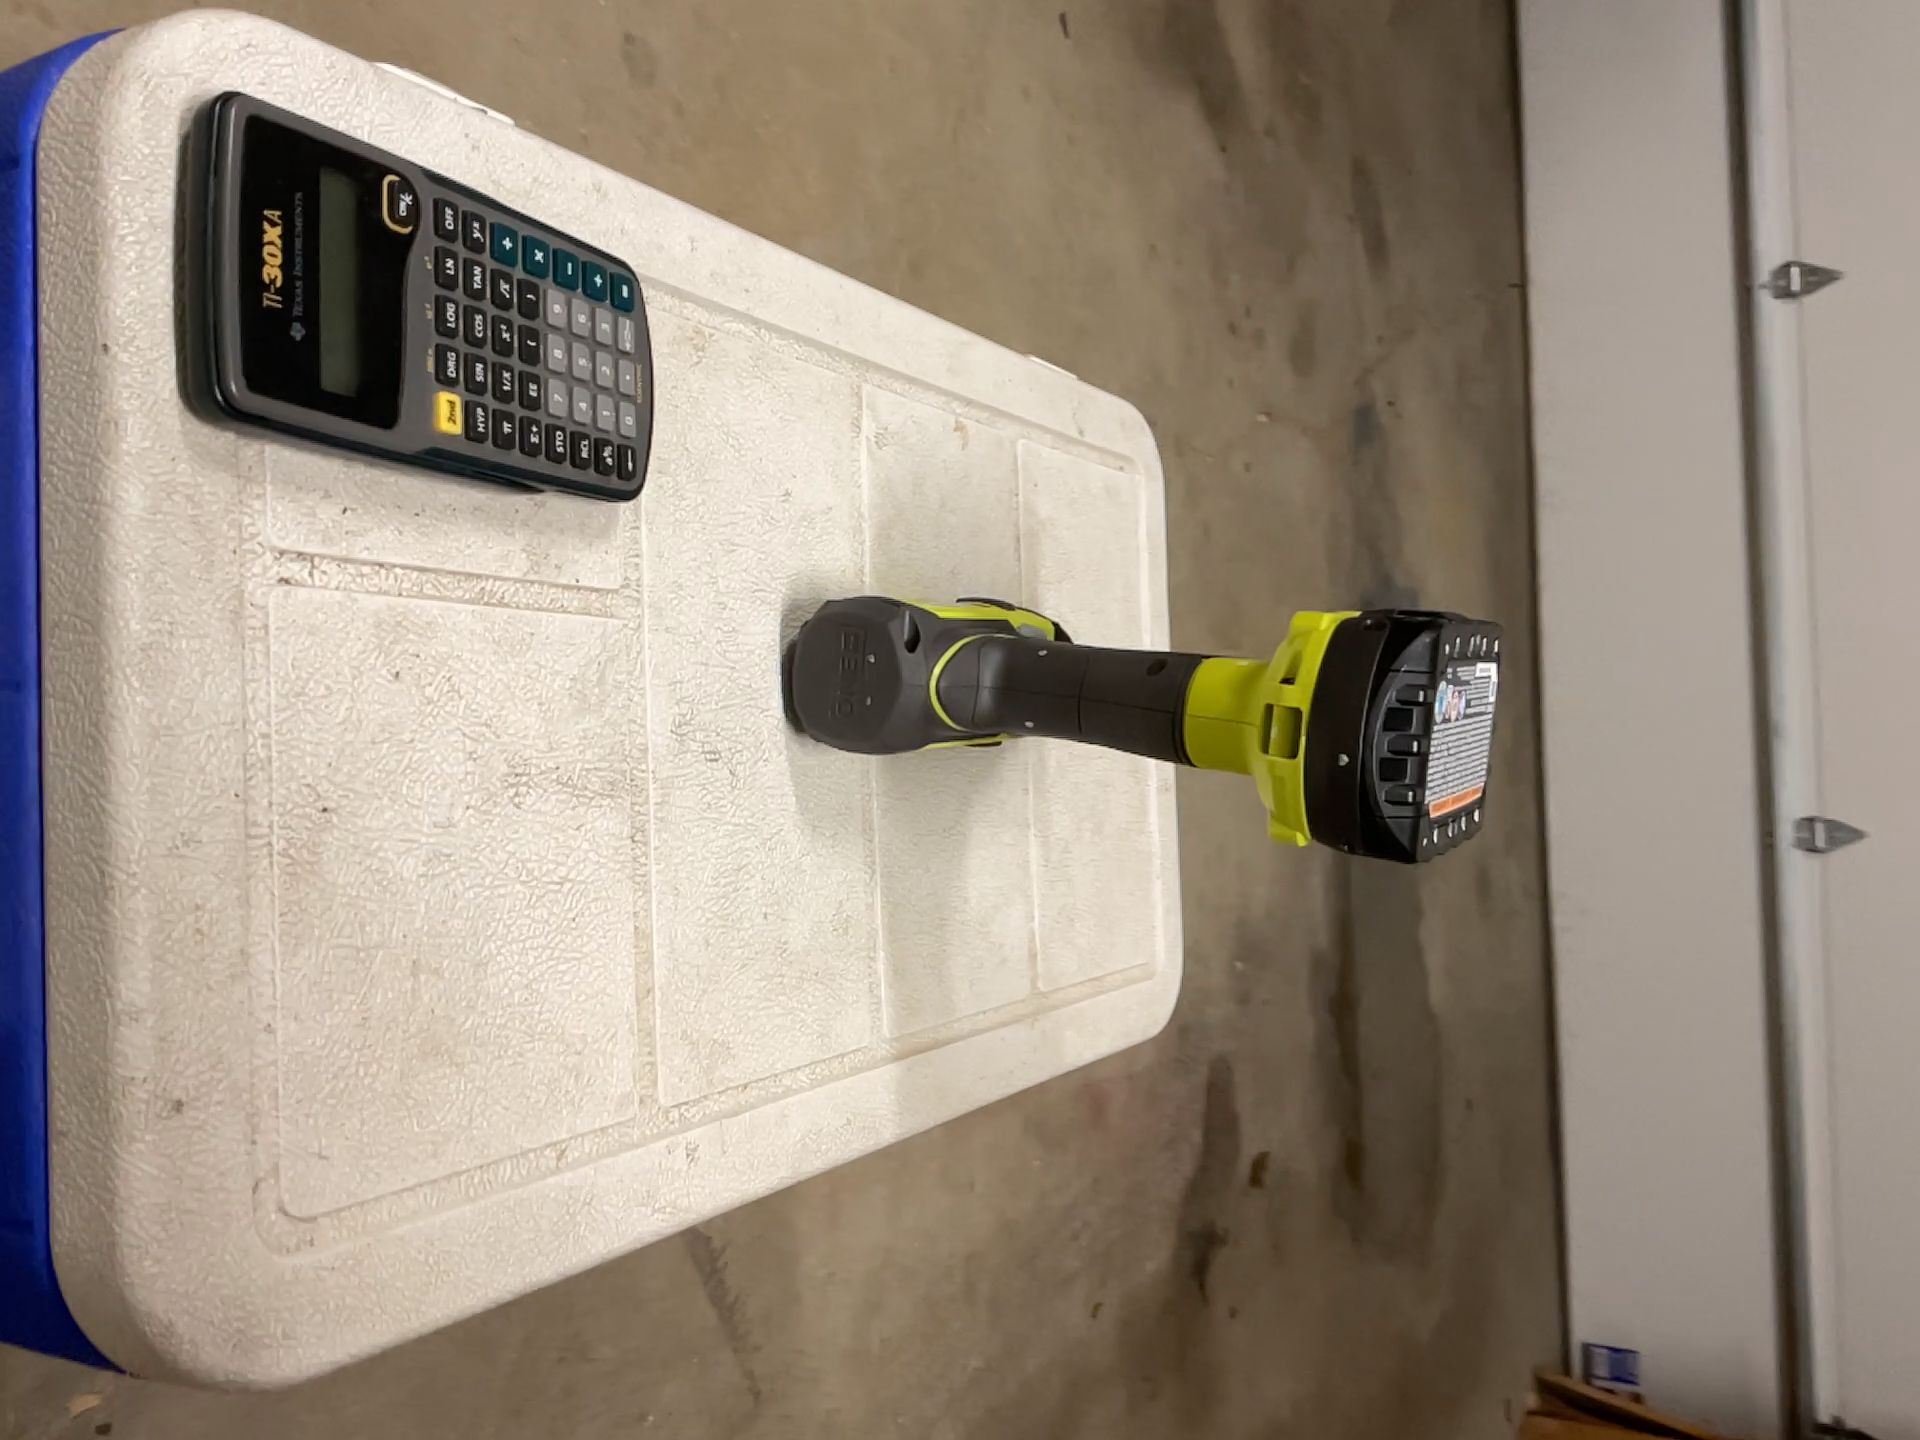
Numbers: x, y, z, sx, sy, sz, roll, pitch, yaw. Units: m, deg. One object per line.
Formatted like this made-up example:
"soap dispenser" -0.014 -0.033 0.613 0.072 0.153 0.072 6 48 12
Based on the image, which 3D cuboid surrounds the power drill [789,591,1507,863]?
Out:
"power drill" 0.074 -0.009 0.583 0.171 0.223 0.080 -4 100 -60
